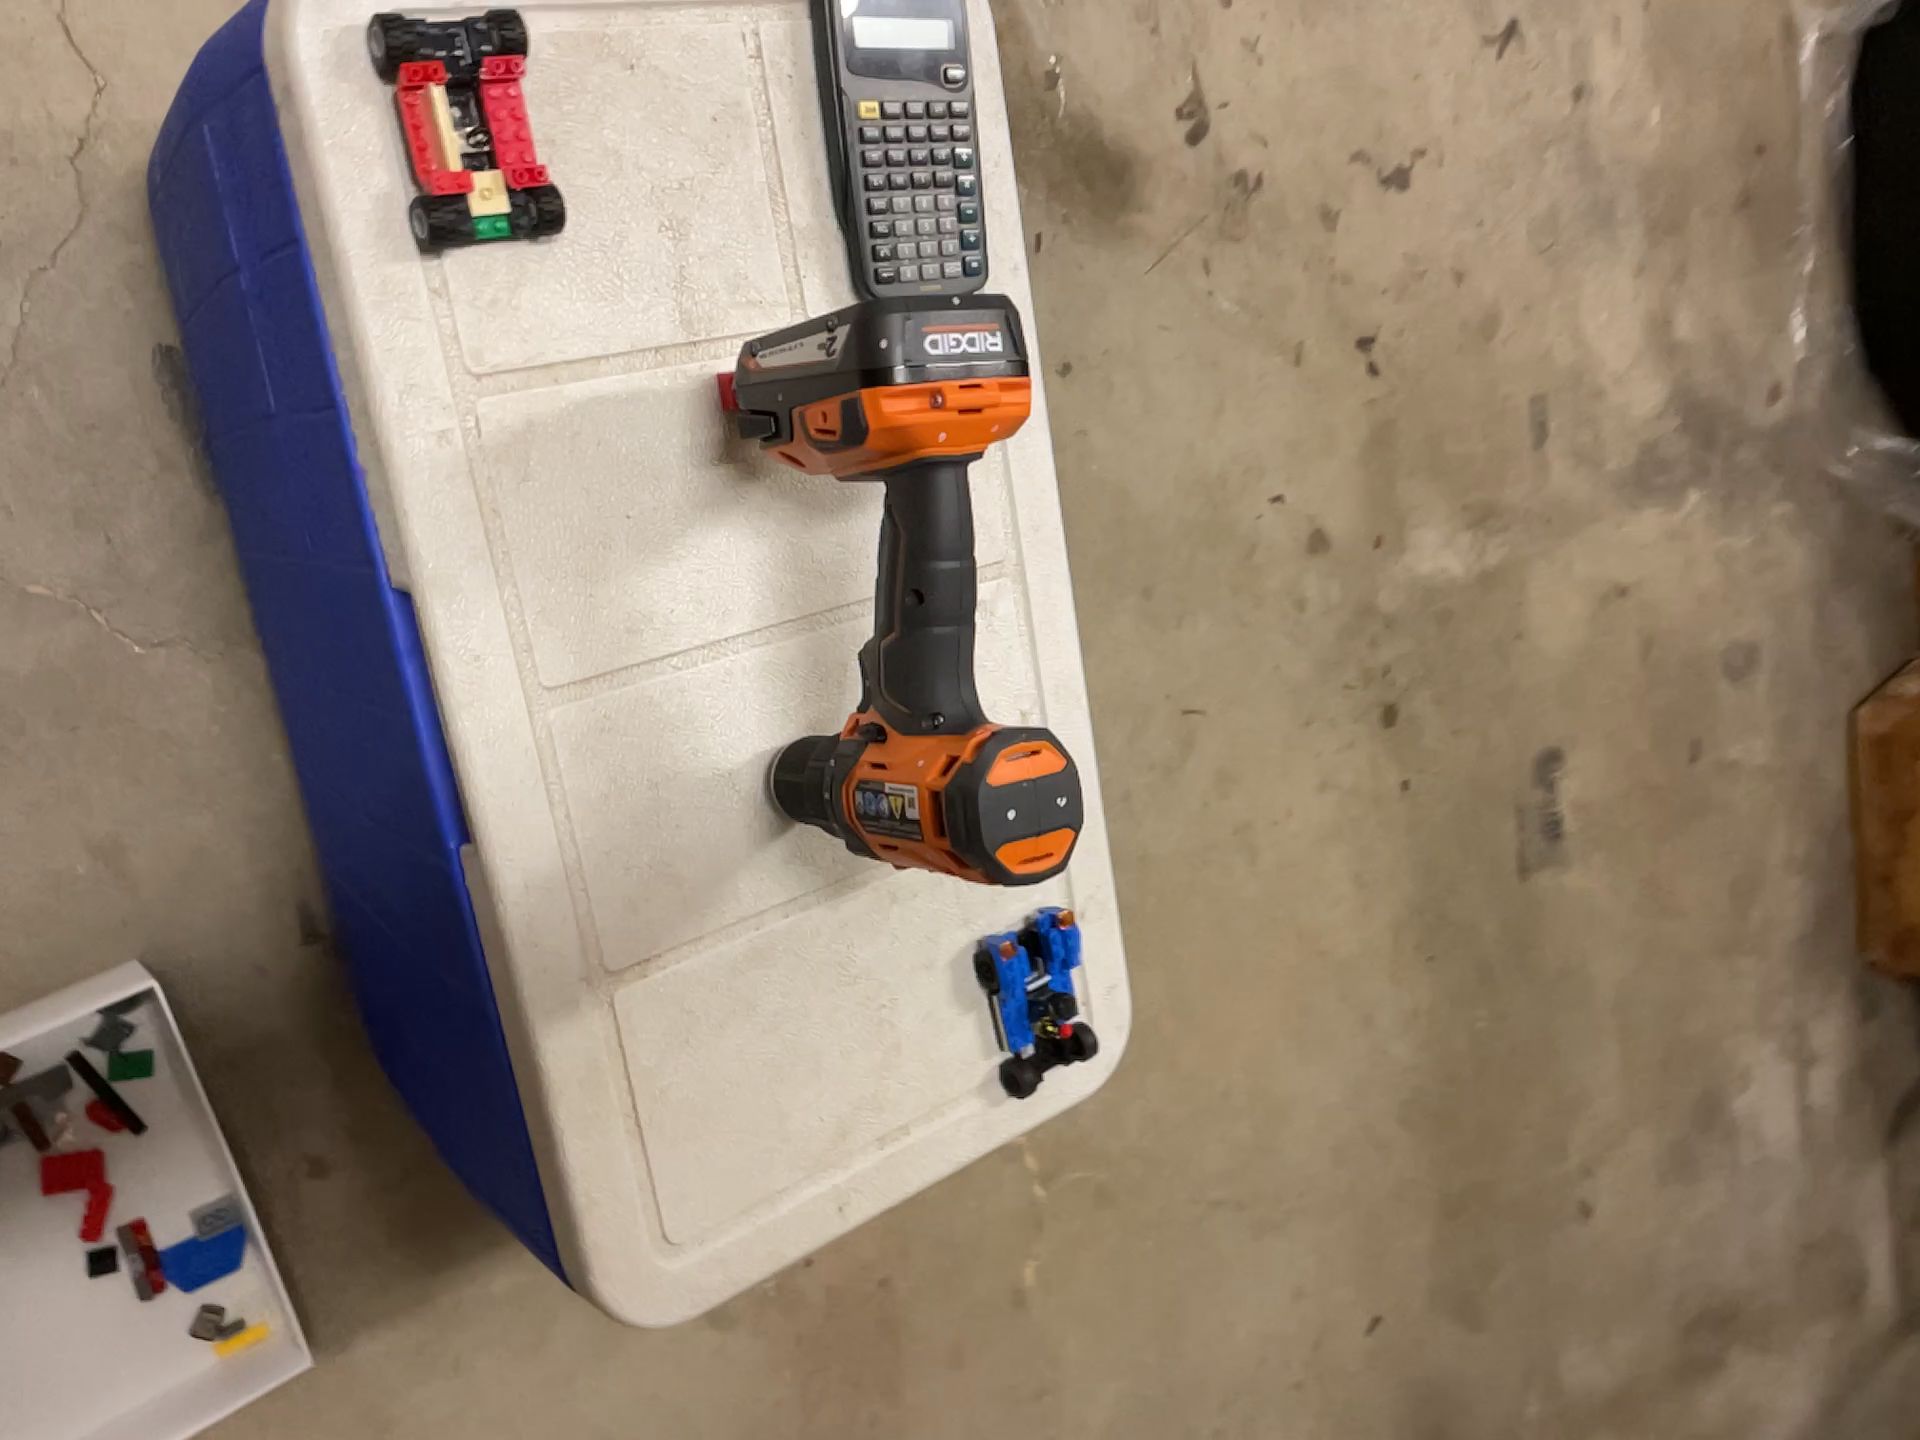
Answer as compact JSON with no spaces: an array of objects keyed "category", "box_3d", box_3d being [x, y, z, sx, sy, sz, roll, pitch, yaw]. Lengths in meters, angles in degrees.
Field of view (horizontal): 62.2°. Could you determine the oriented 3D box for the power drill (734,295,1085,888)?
[{"category":"power drill","box_3d":[-0.034,-0.048,0.666,0.084,0.185,0.226,-12,98,-34]}]
